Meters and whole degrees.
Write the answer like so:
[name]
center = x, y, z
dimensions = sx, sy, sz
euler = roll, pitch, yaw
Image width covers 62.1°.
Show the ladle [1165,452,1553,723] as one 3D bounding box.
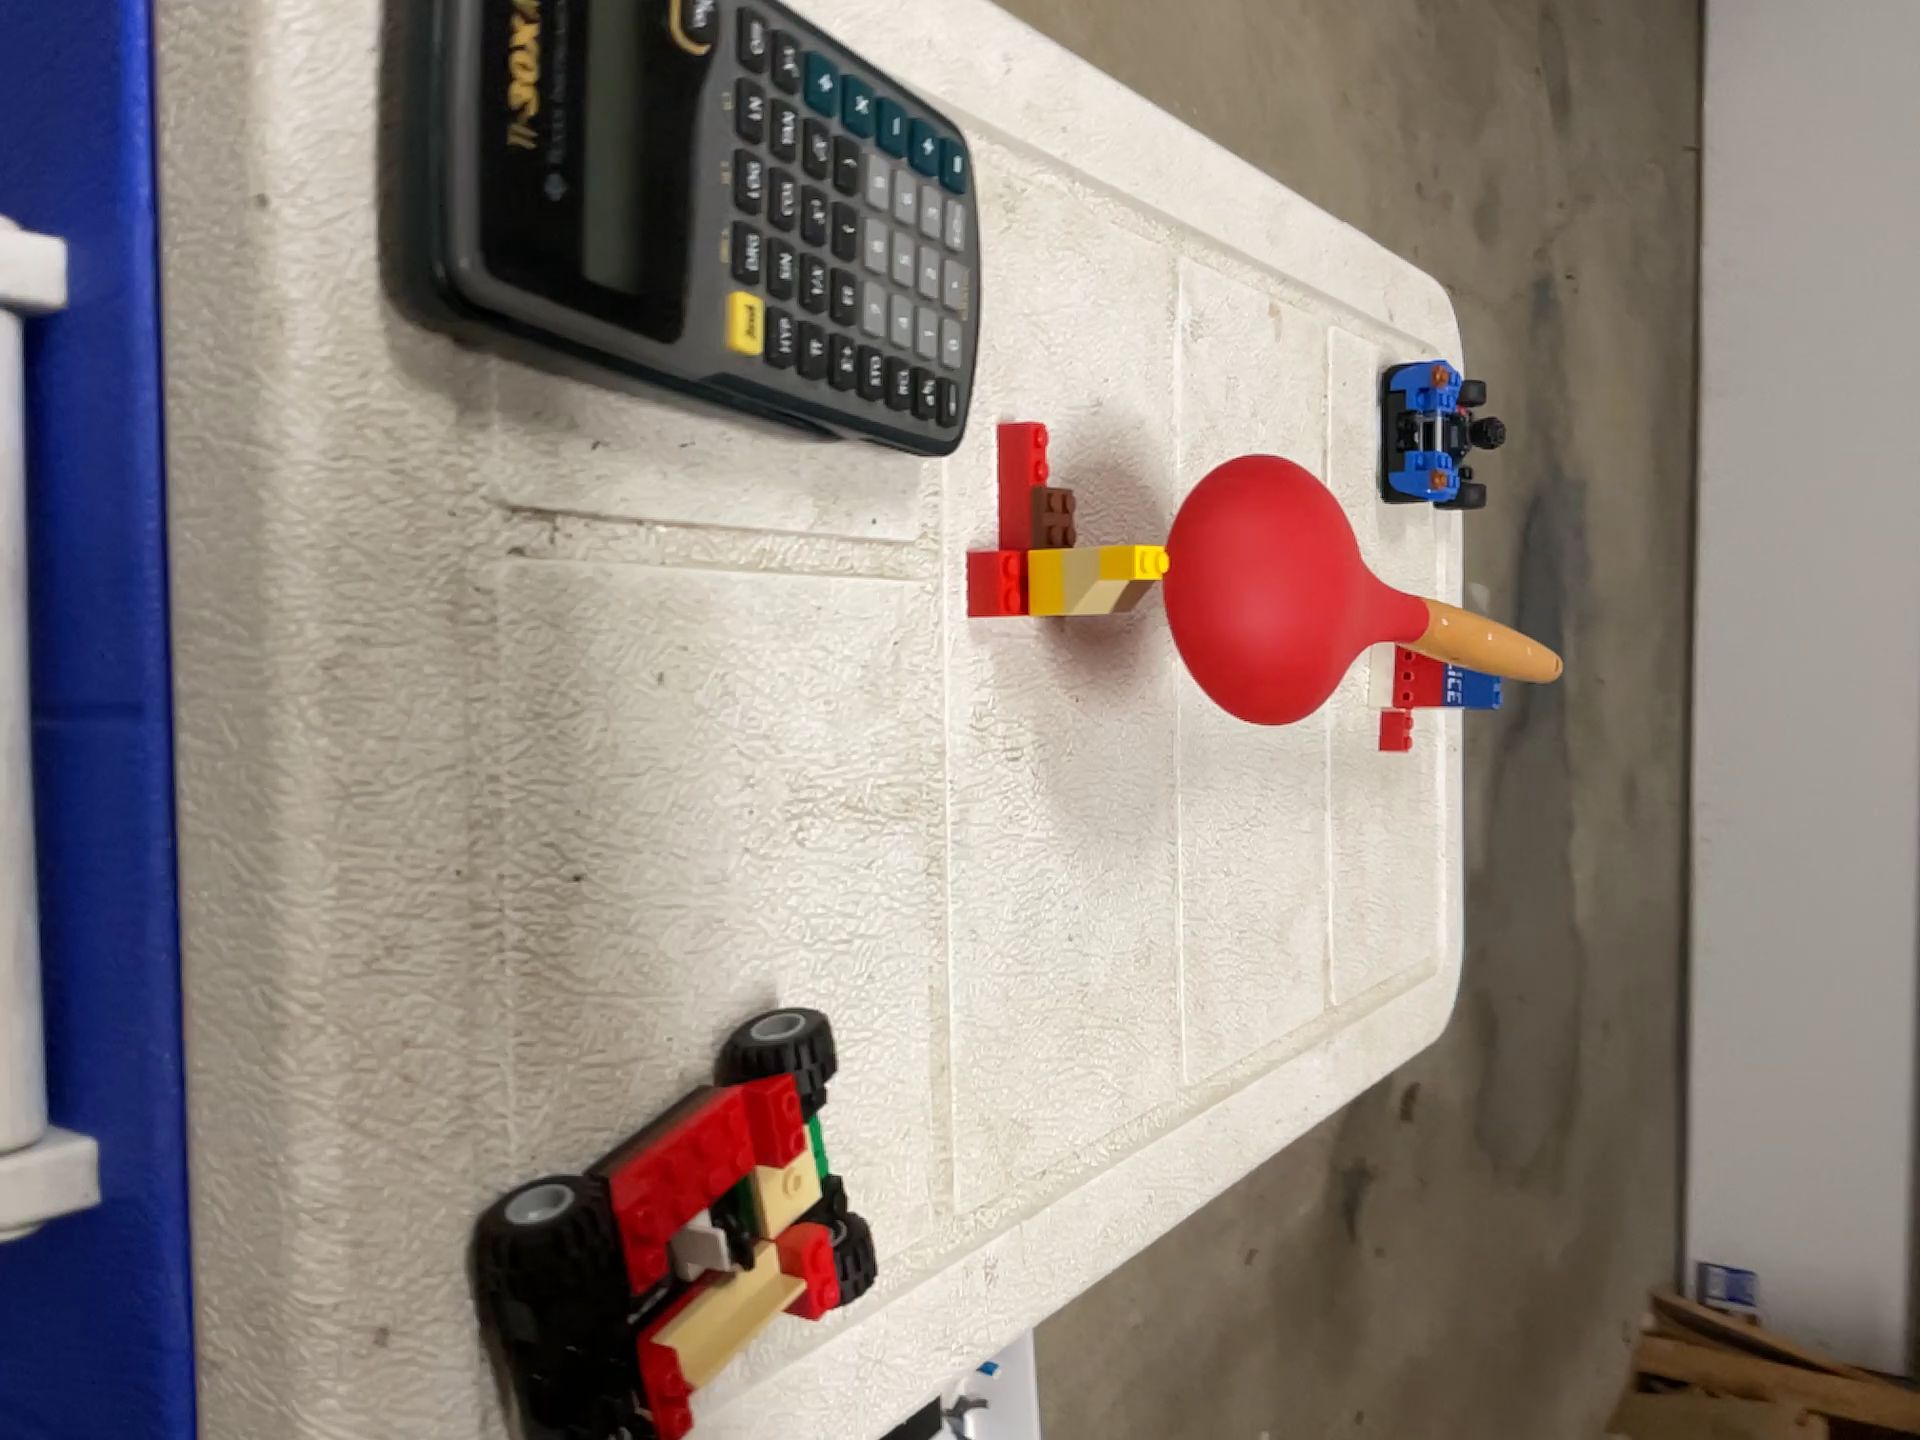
[ladle]
center = 0.146, -0.028, 0.505
dimensions = 0.315, 0.031, 0.069
euler = 6, 85, -57
